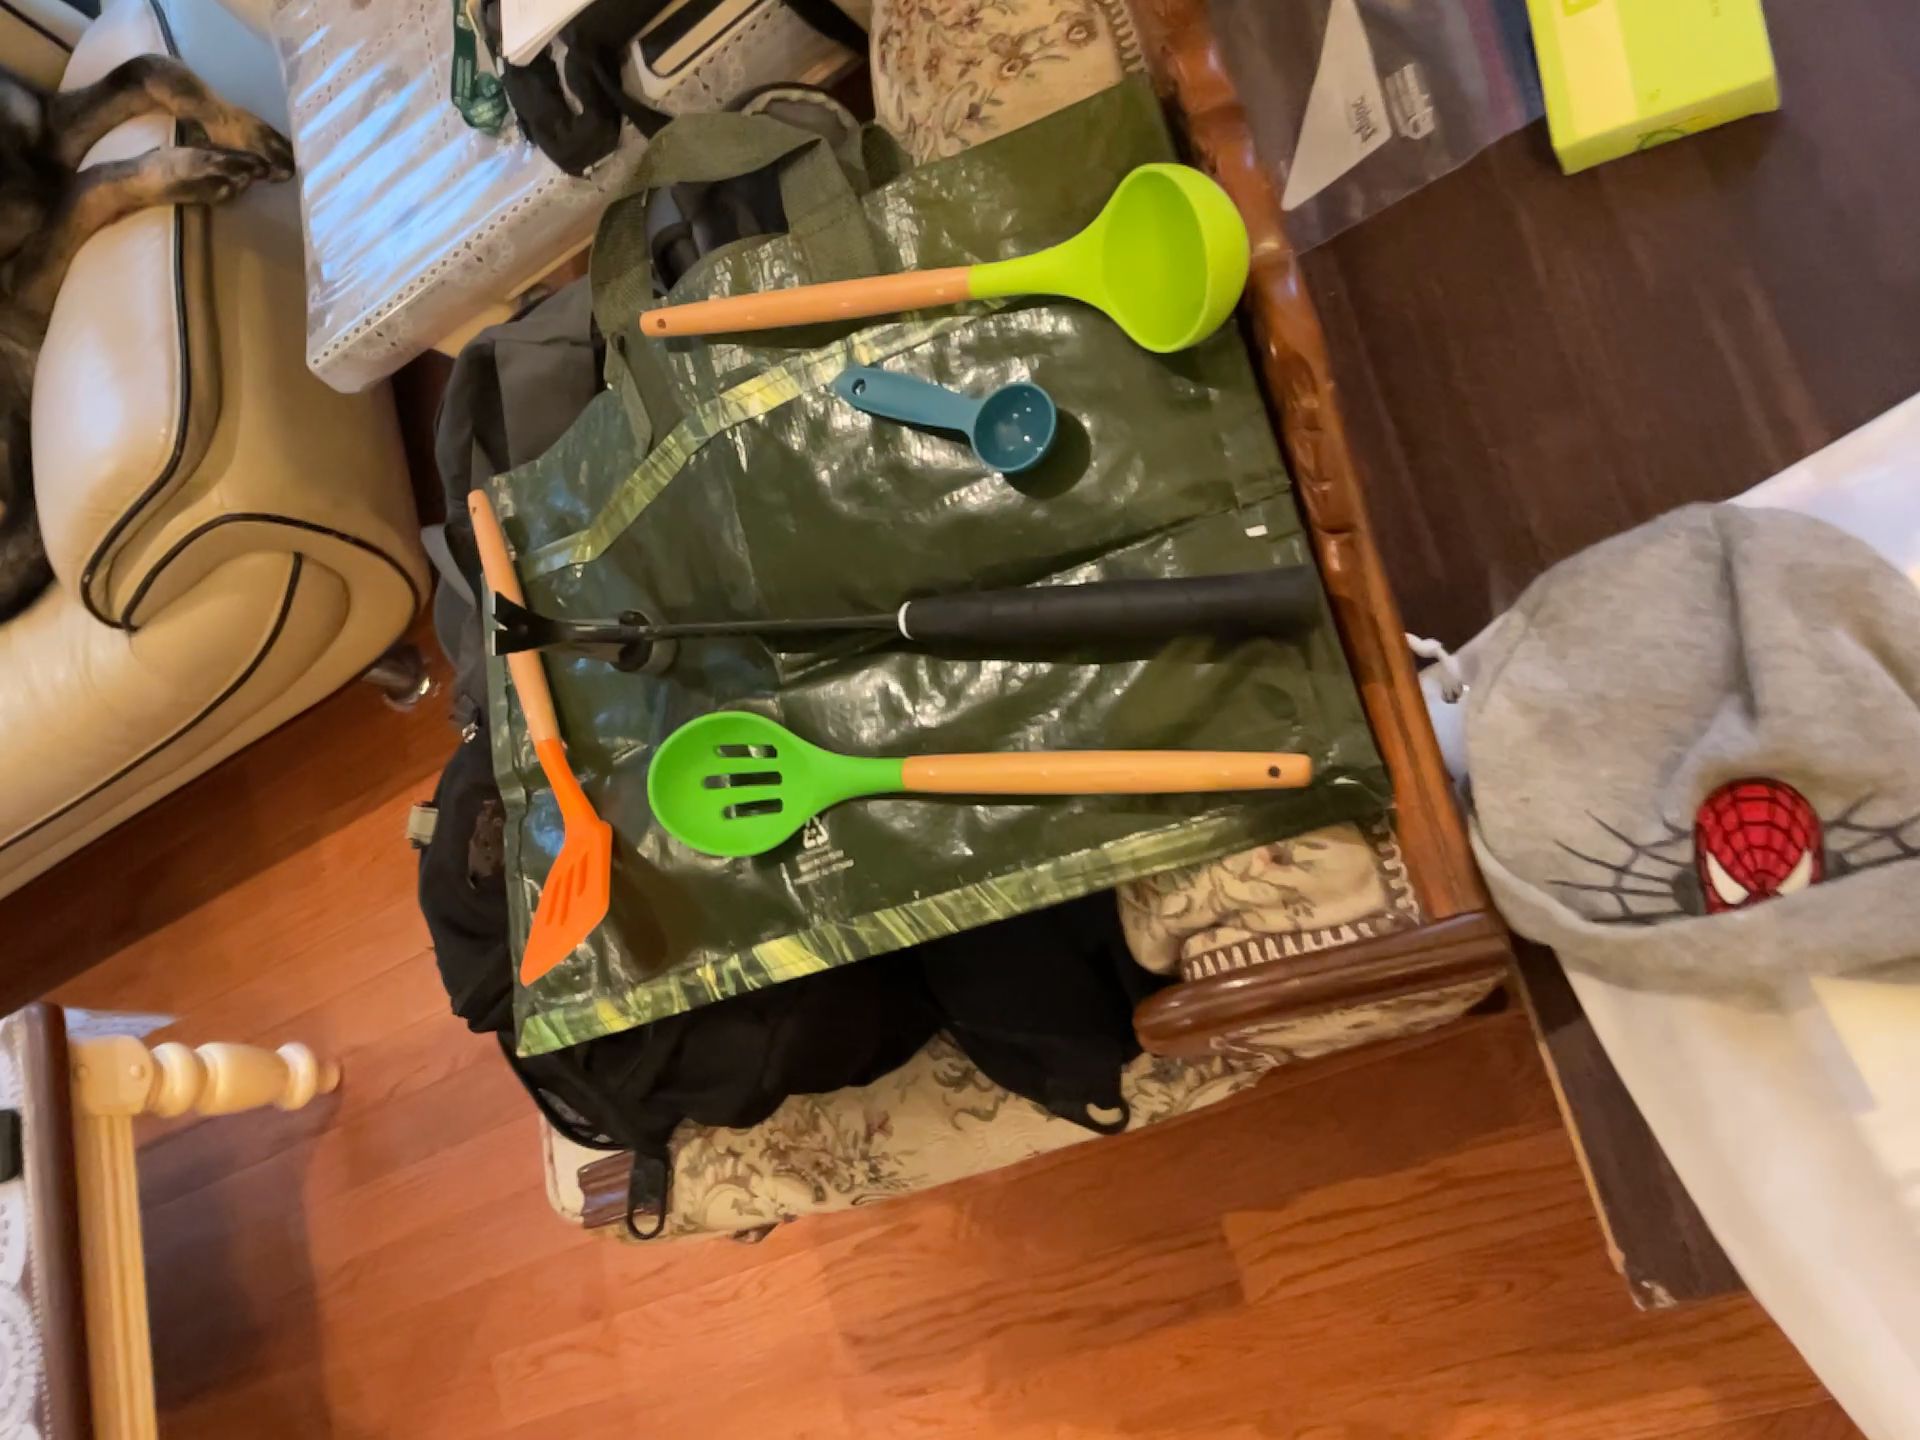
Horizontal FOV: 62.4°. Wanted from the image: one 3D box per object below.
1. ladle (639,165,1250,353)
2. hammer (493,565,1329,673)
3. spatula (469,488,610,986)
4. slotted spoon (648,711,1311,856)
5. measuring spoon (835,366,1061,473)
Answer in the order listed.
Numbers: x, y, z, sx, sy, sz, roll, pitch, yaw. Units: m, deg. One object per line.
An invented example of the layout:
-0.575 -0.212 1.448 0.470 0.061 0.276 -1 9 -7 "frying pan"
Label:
-0.022 -0.199 0.736 0.320 0.062 0.078 0 106 25 "ladle"
-0.032 -0.047 0.737 0.409 0.149 0.036 -1 89 25 "hammer"
-0.248 -0.007 0.904 0.081 0.041 0.323 -38 60 29 "spatula"
0.000 0.026 0.718 0.314 0.031 0.070 -2 95 22 "slotted spoon"
-0.005 -0.143 0.739 0.129 0.021 0.042 22 91 32 "measuring spoon"
